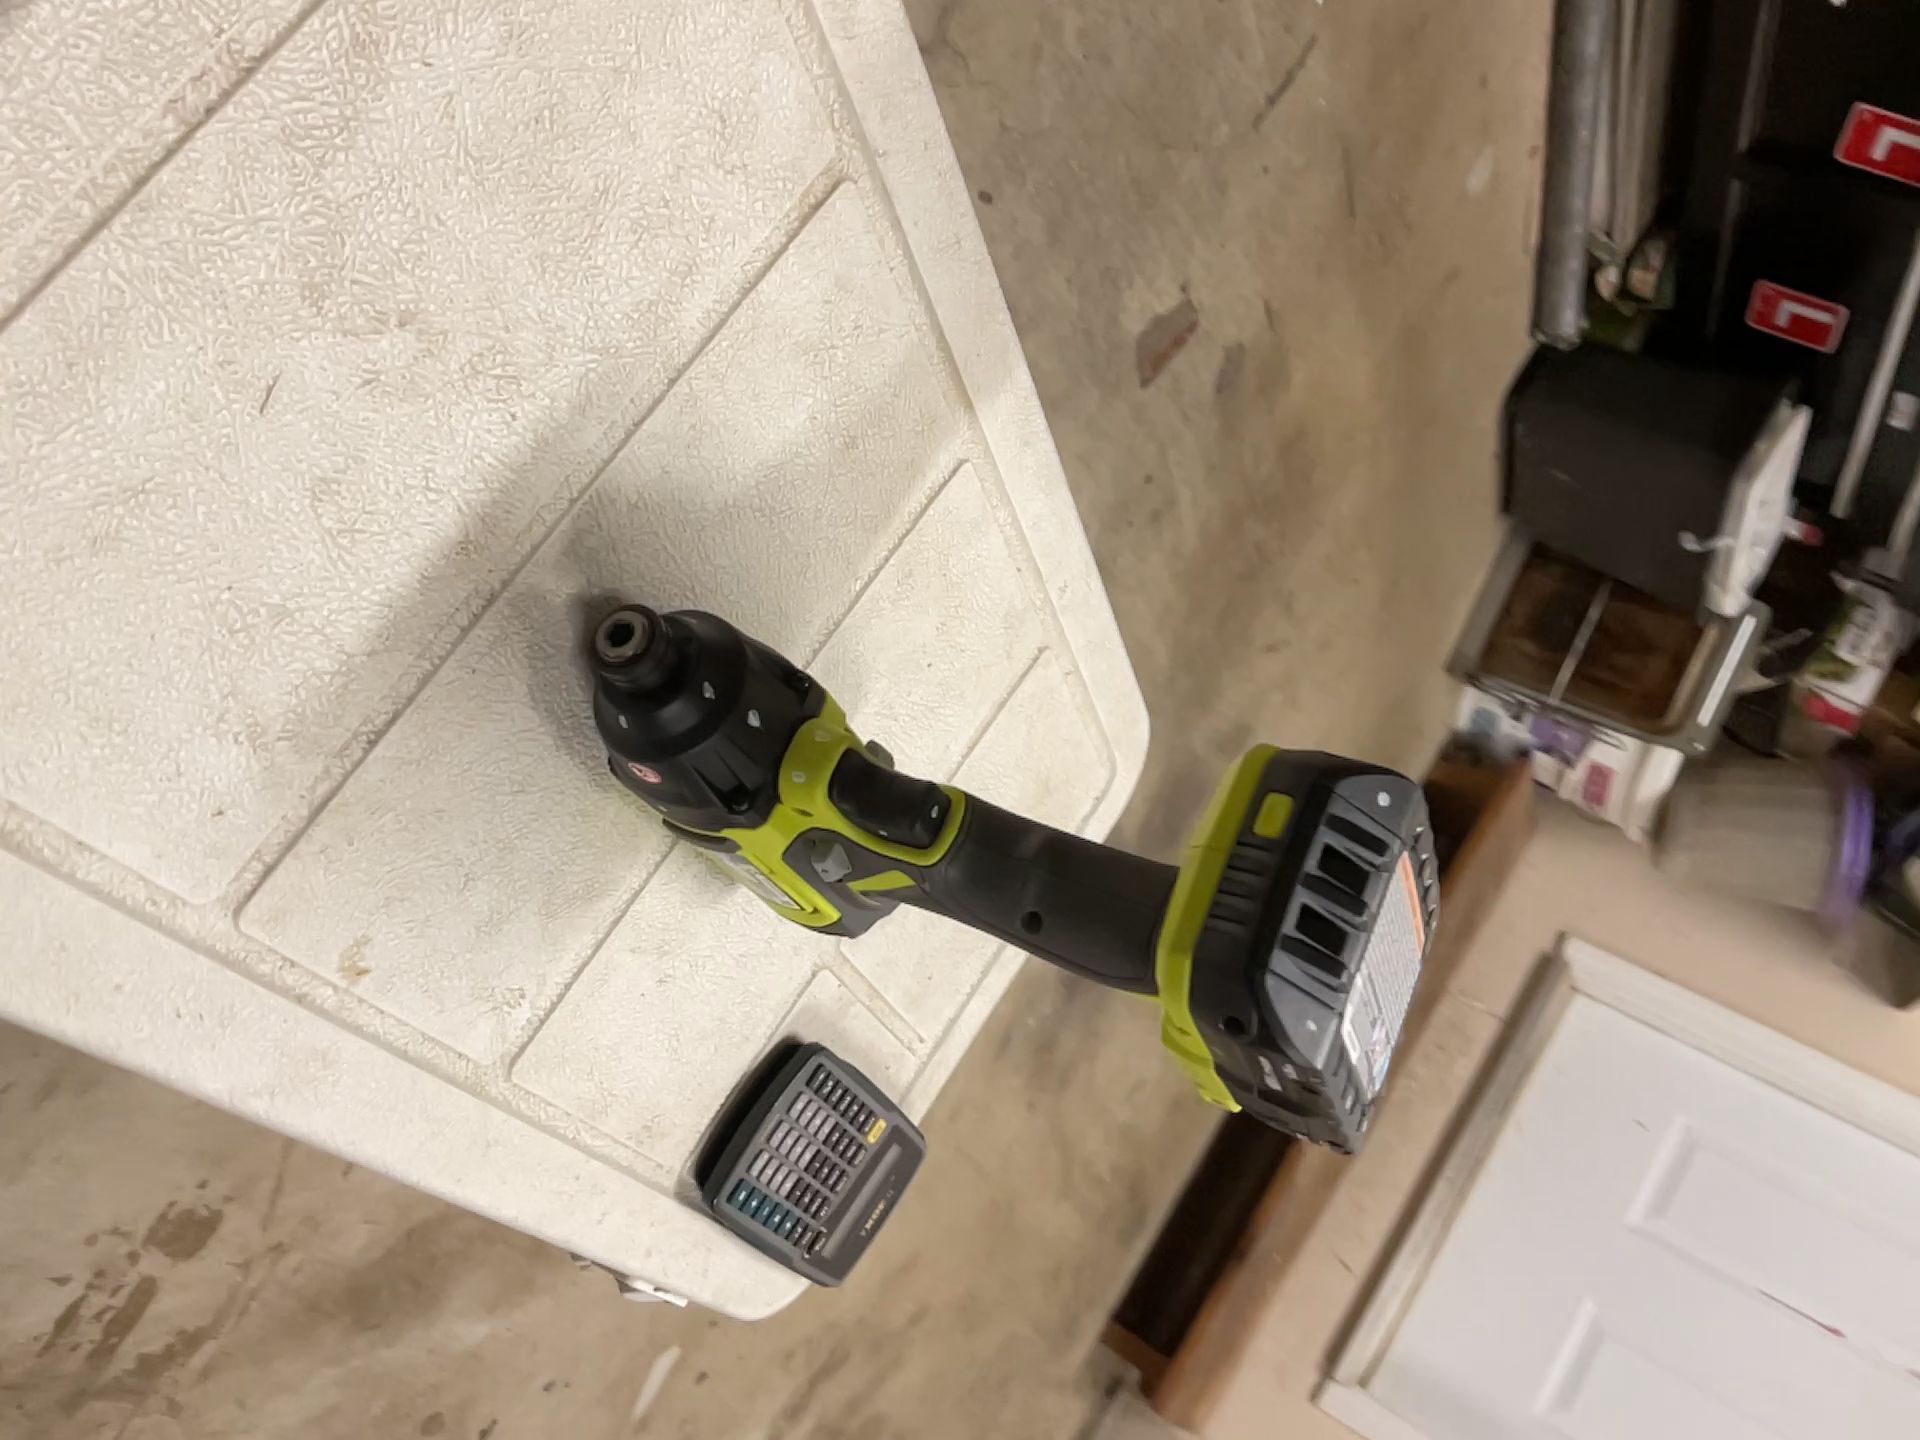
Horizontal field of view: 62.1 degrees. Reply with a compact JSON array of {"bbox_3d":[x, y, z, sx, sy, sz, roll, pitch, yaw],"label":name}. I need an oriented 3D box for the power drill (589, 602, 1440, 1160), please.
[{"bbox_3d":[0.010,0.036,0.444,0.080,0.223,0.171,-65,154,-18],"label":"power drill"}]
